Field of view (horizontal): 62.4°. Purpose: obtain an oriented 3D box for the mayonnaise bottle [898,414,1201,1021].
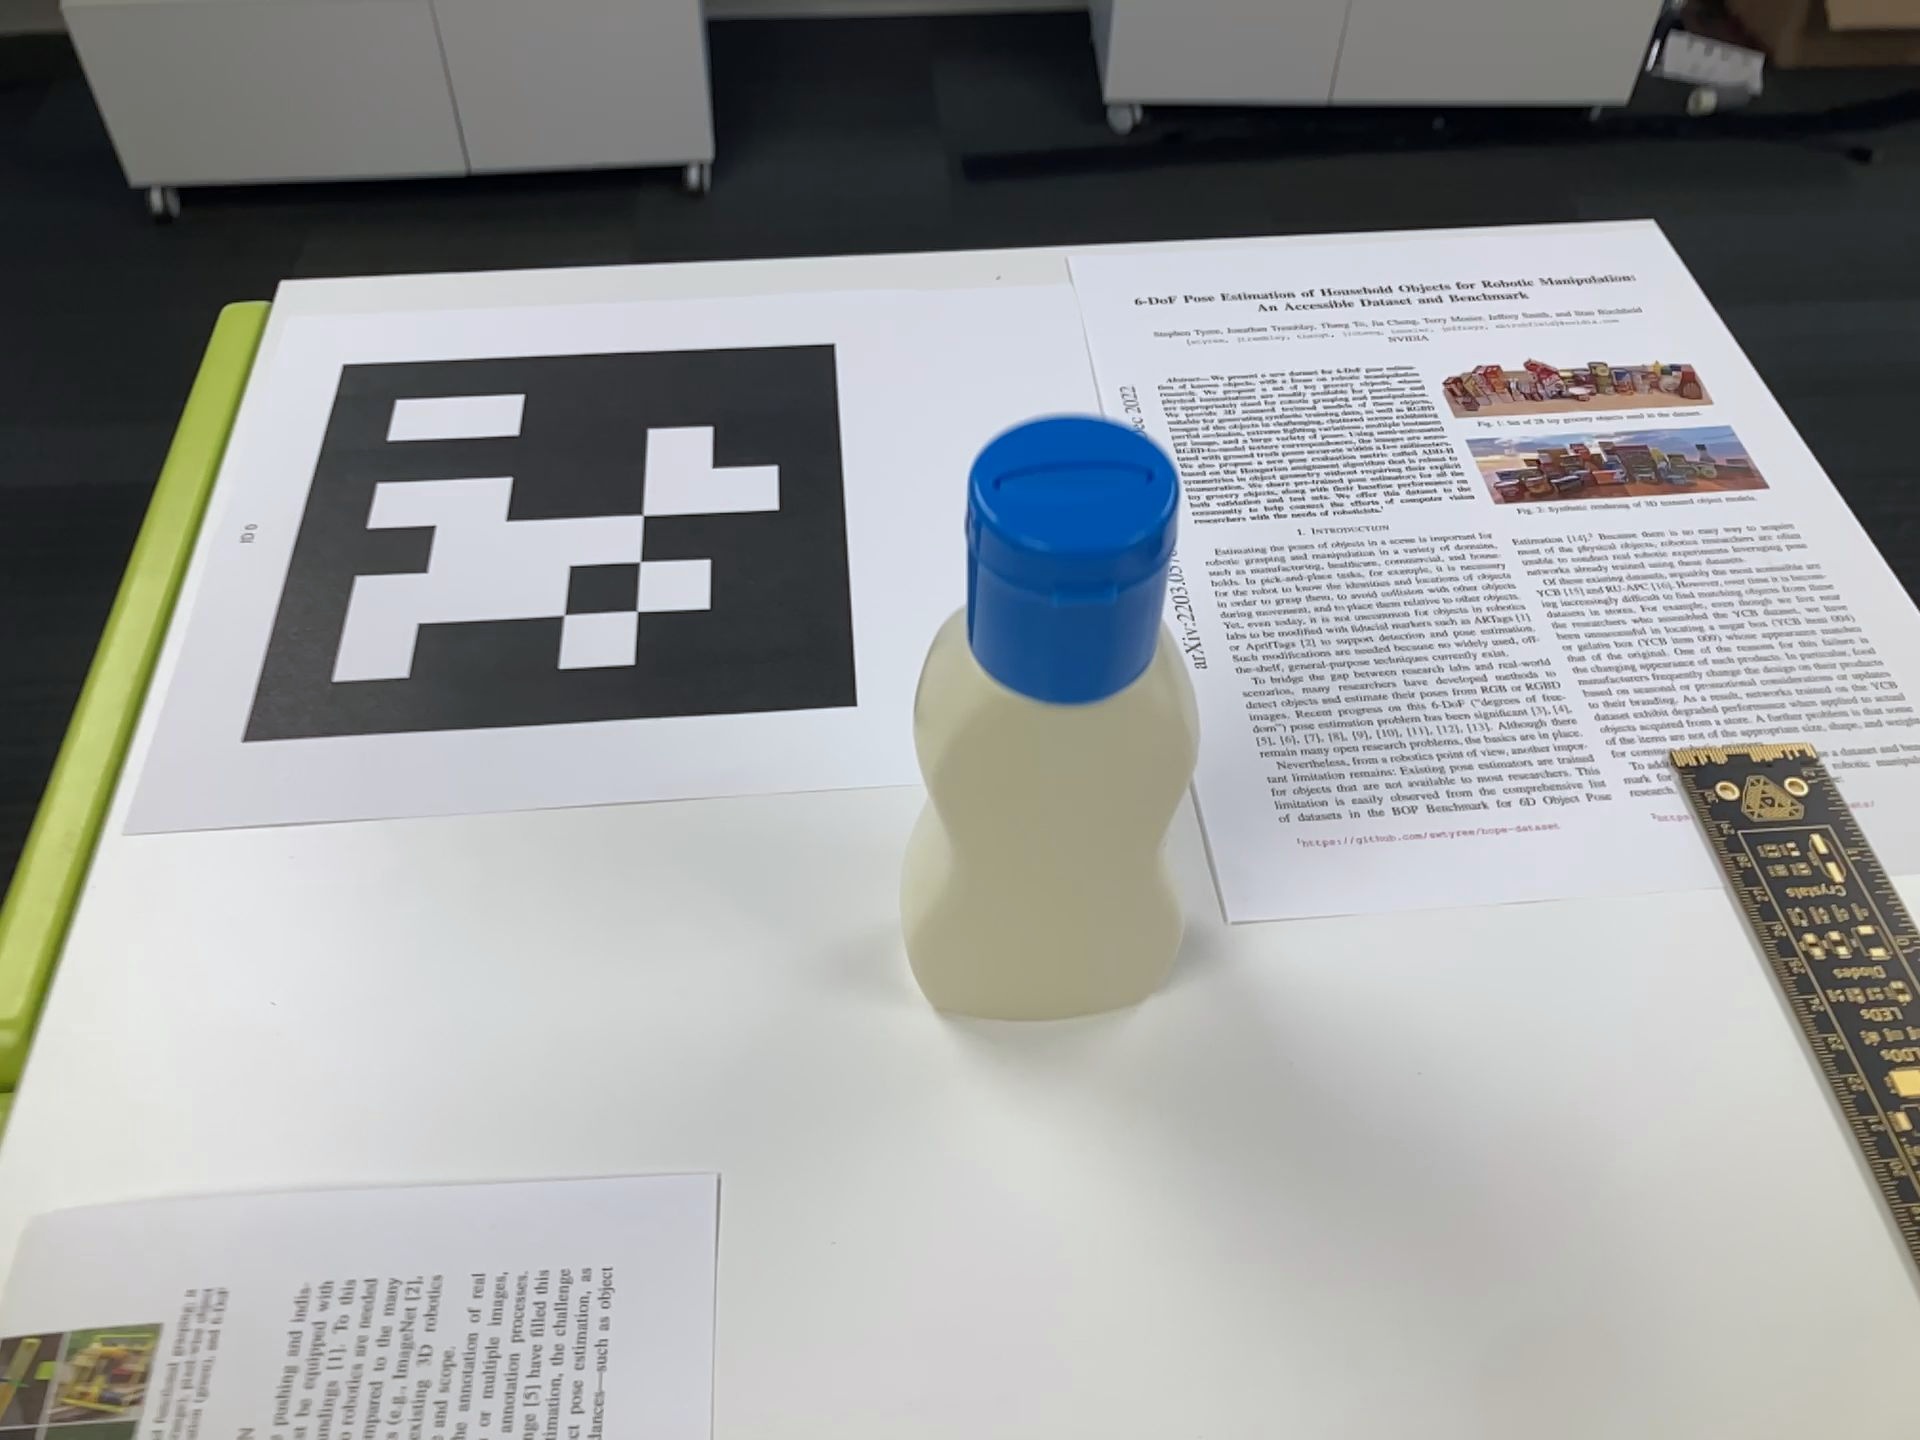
[{"bbox_3d":[0.019,0.007,0.321,0.065,0.148,0.041,-3,49,-4],"label":"mayonnaise bottle"}]
